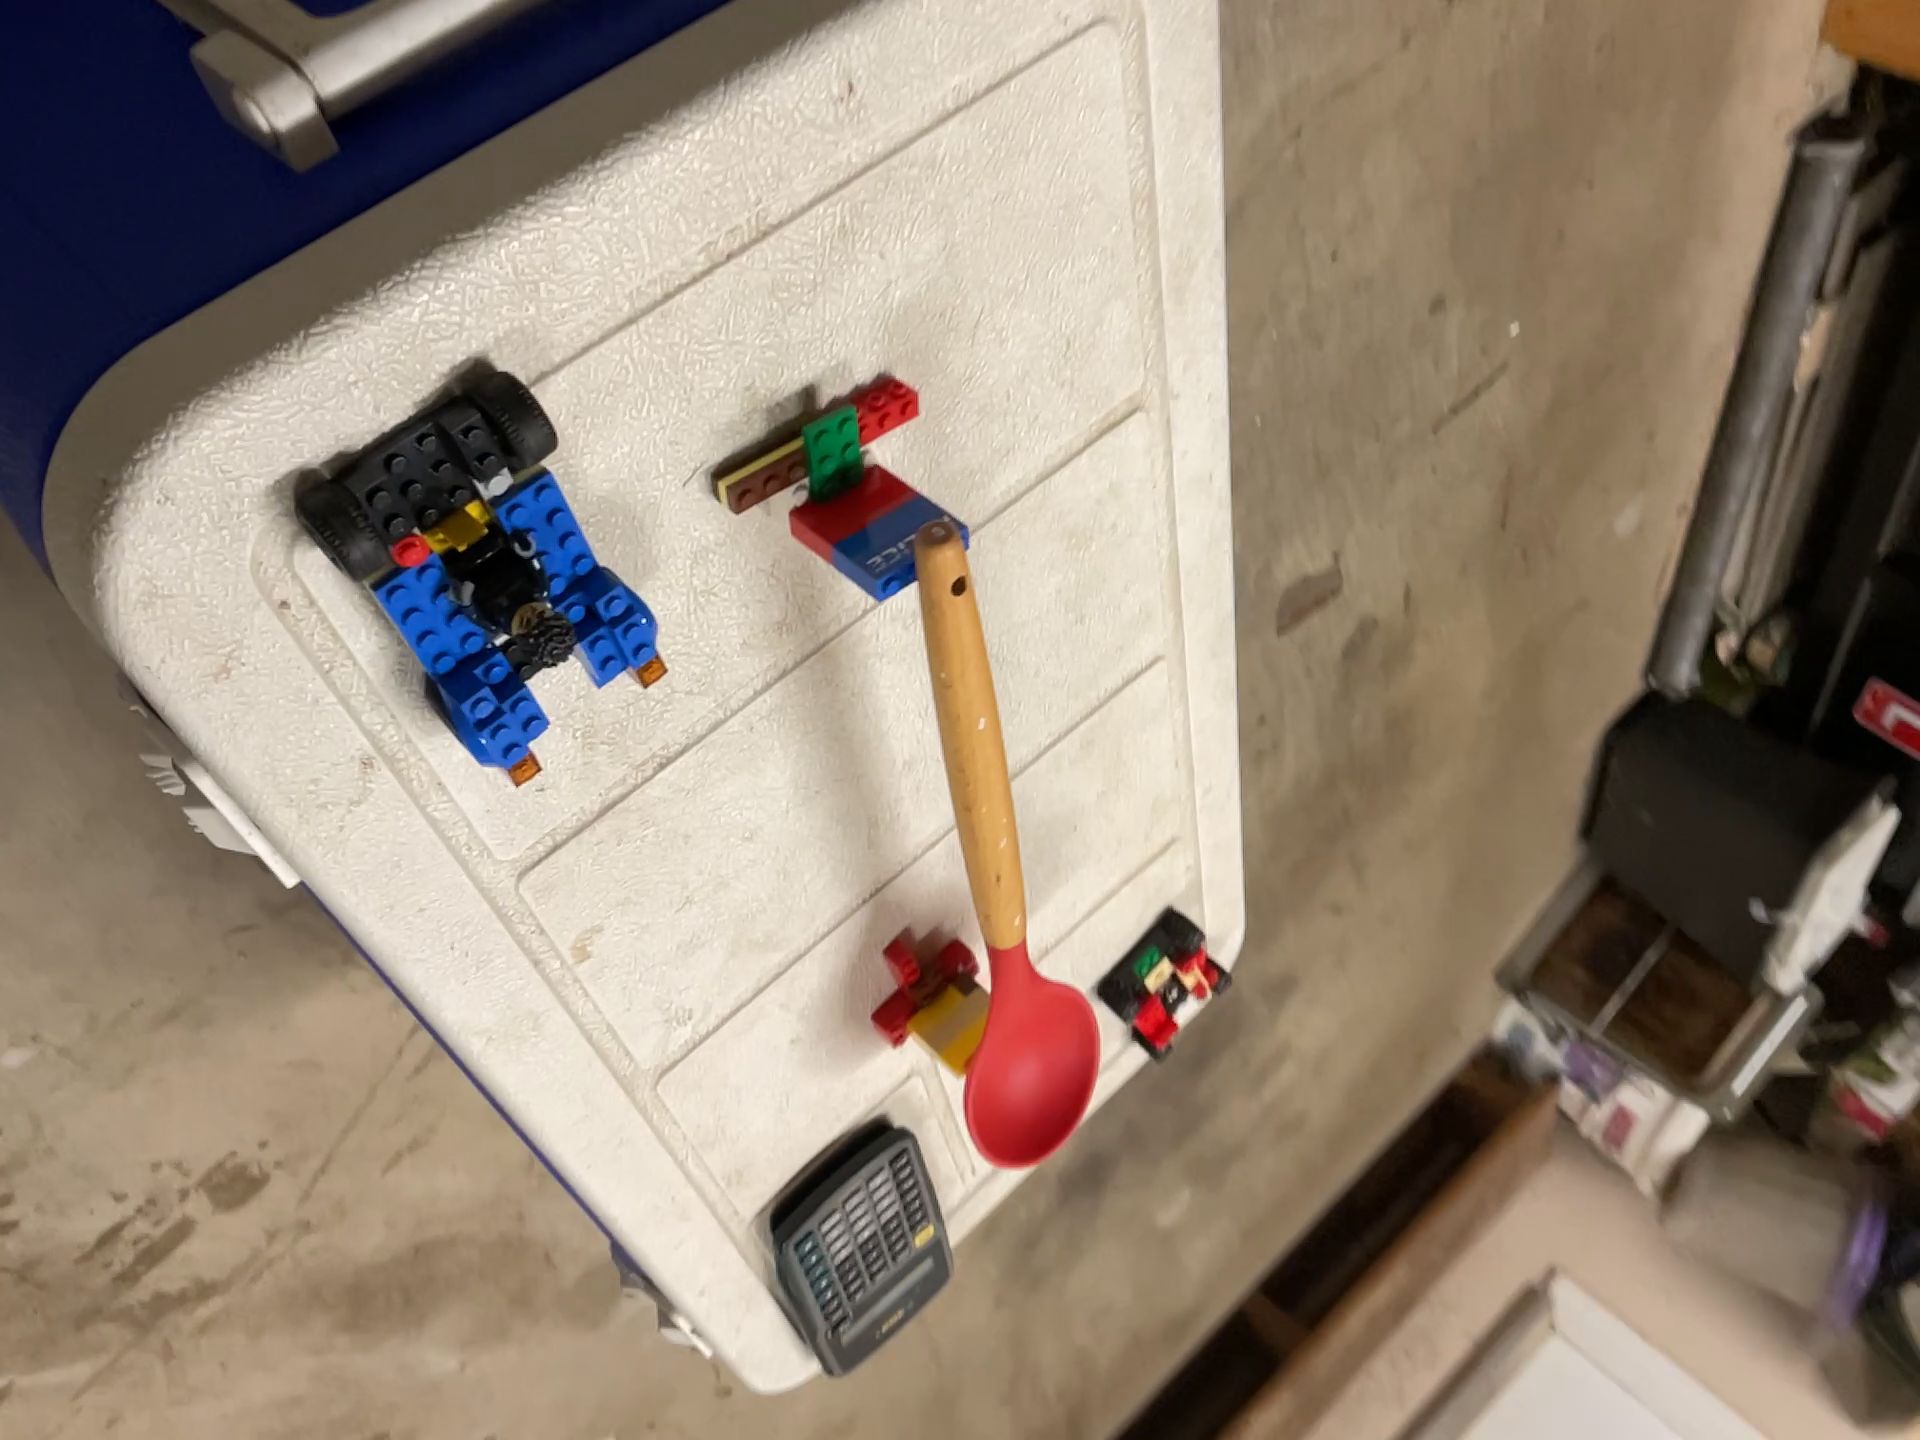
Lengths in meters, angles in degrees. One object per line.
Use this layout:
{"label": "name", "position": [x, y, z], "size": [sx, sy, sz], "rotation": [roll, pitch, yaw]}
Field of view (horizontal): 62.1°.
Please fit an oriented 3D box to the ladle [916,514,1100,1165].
{"label": "ladle", "position": [0.012, 0.055, 0.518], "size": [0.069, 0.031, 0.315], "rotation": [-41, 145, -25]}
